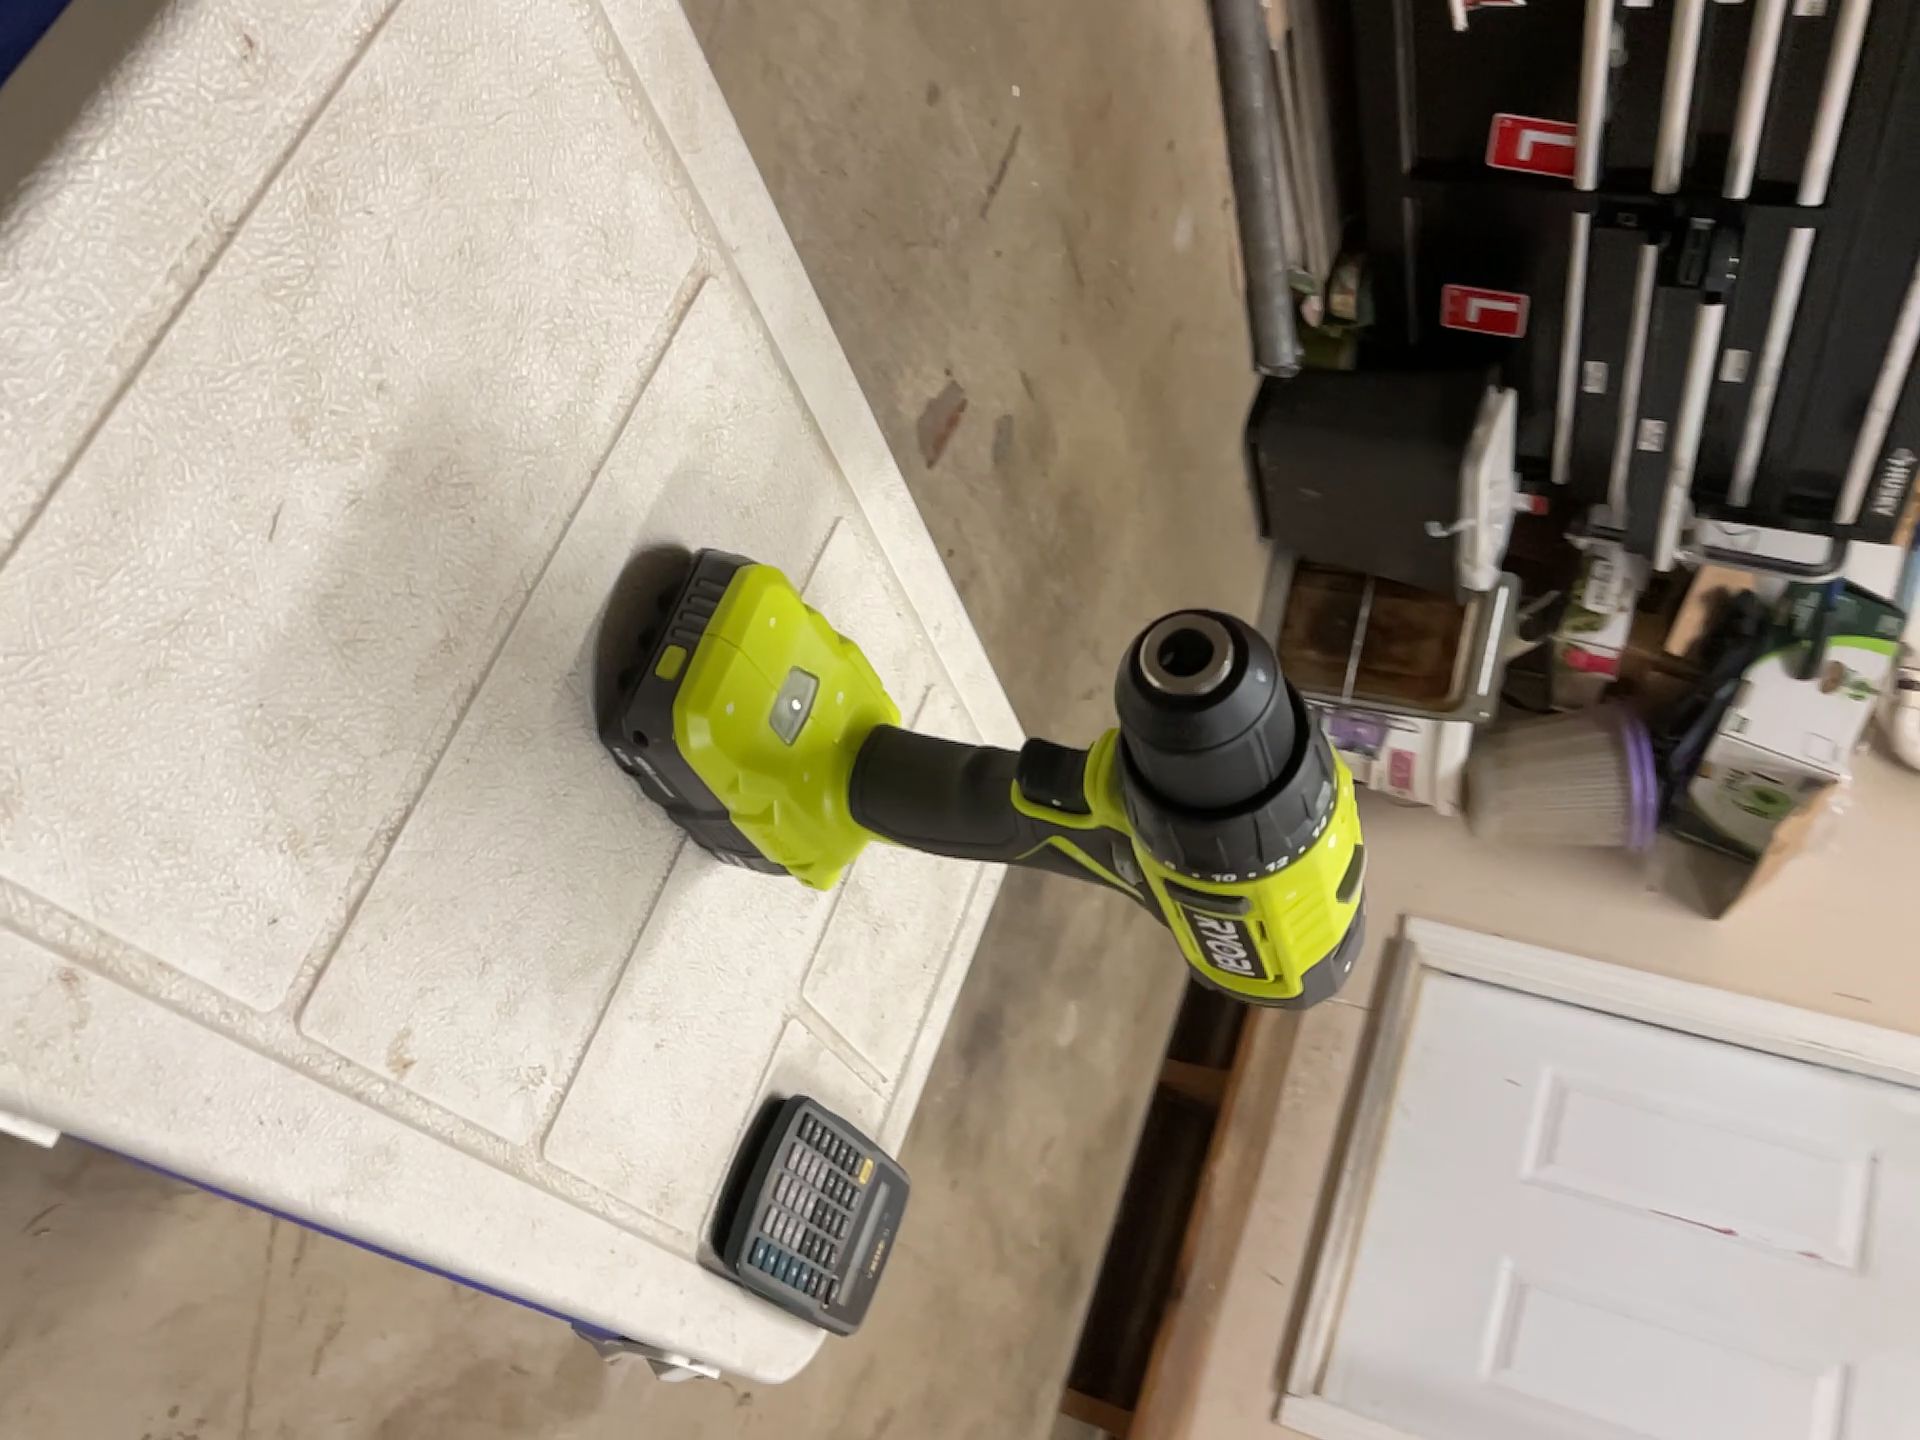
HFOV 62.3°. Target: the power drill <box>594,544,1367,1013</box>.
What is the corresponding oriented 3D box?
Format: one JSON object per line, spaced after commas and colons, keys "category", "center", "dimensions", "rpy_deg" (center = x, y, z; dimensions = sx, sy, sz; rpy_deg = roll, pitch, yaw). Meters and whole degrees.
{"category": "power drill", "center": [0.008, 0.012, 0.490], "dimensions": [0.080, 0.228, 0.190], "rpy_deg": [-68, 154, -21]}
